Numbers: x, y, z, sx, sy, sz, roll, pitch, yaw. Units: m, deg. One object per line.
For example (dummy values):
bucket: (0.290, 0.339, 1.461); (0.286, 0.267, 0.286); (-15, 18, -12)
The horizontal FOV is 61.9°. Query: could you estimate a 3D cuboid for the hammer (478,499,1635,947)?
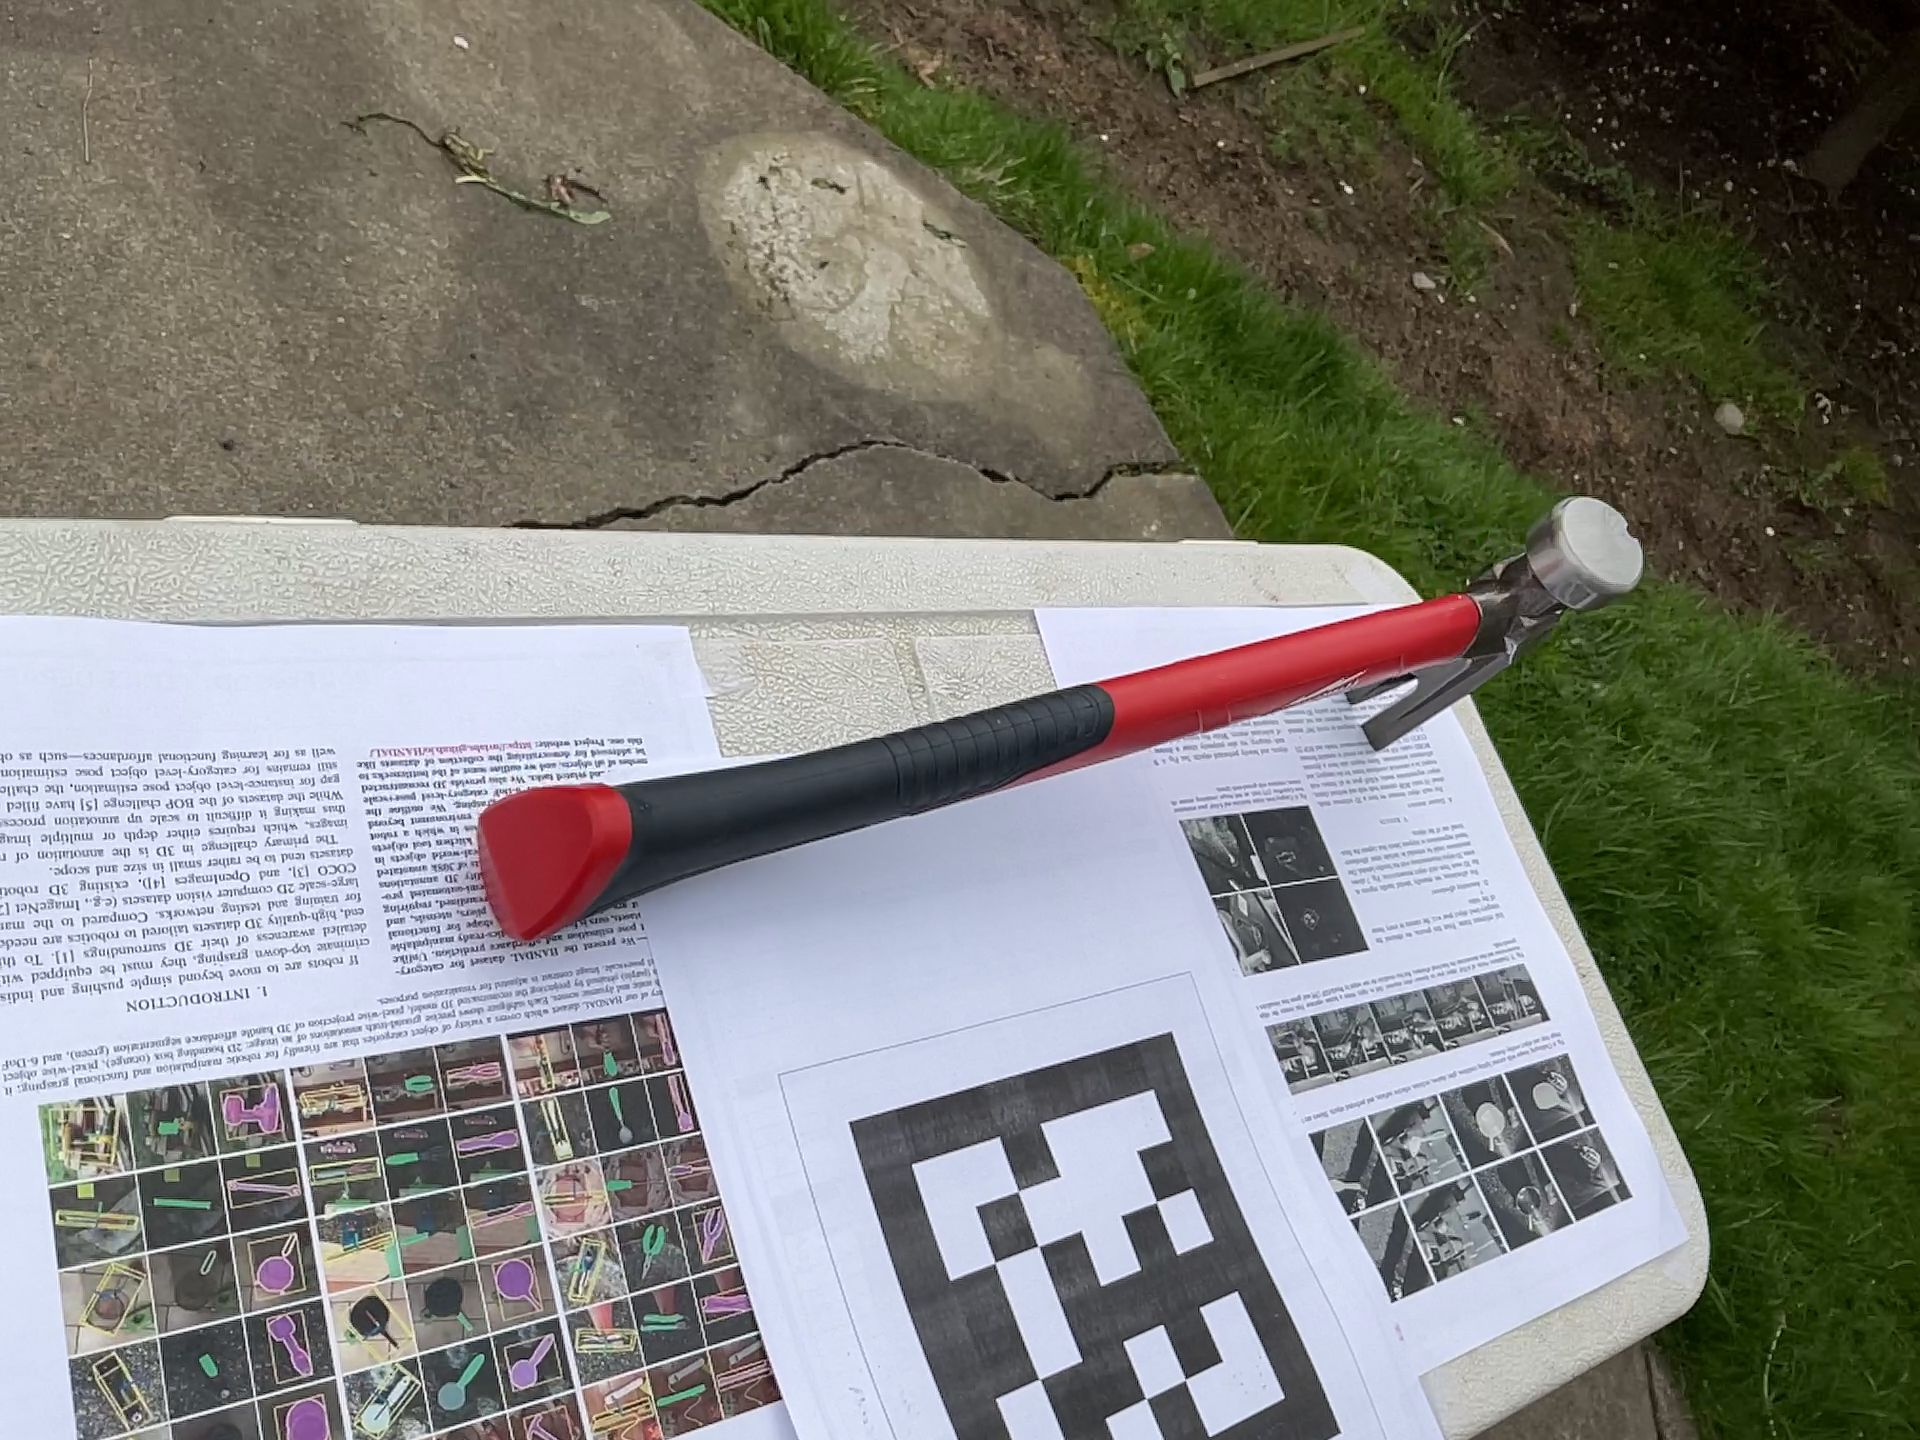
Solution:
hammer: (0.040, 0.007, 0.509); (0.386, 0.143, 0.038); (-14, 71, -30)
